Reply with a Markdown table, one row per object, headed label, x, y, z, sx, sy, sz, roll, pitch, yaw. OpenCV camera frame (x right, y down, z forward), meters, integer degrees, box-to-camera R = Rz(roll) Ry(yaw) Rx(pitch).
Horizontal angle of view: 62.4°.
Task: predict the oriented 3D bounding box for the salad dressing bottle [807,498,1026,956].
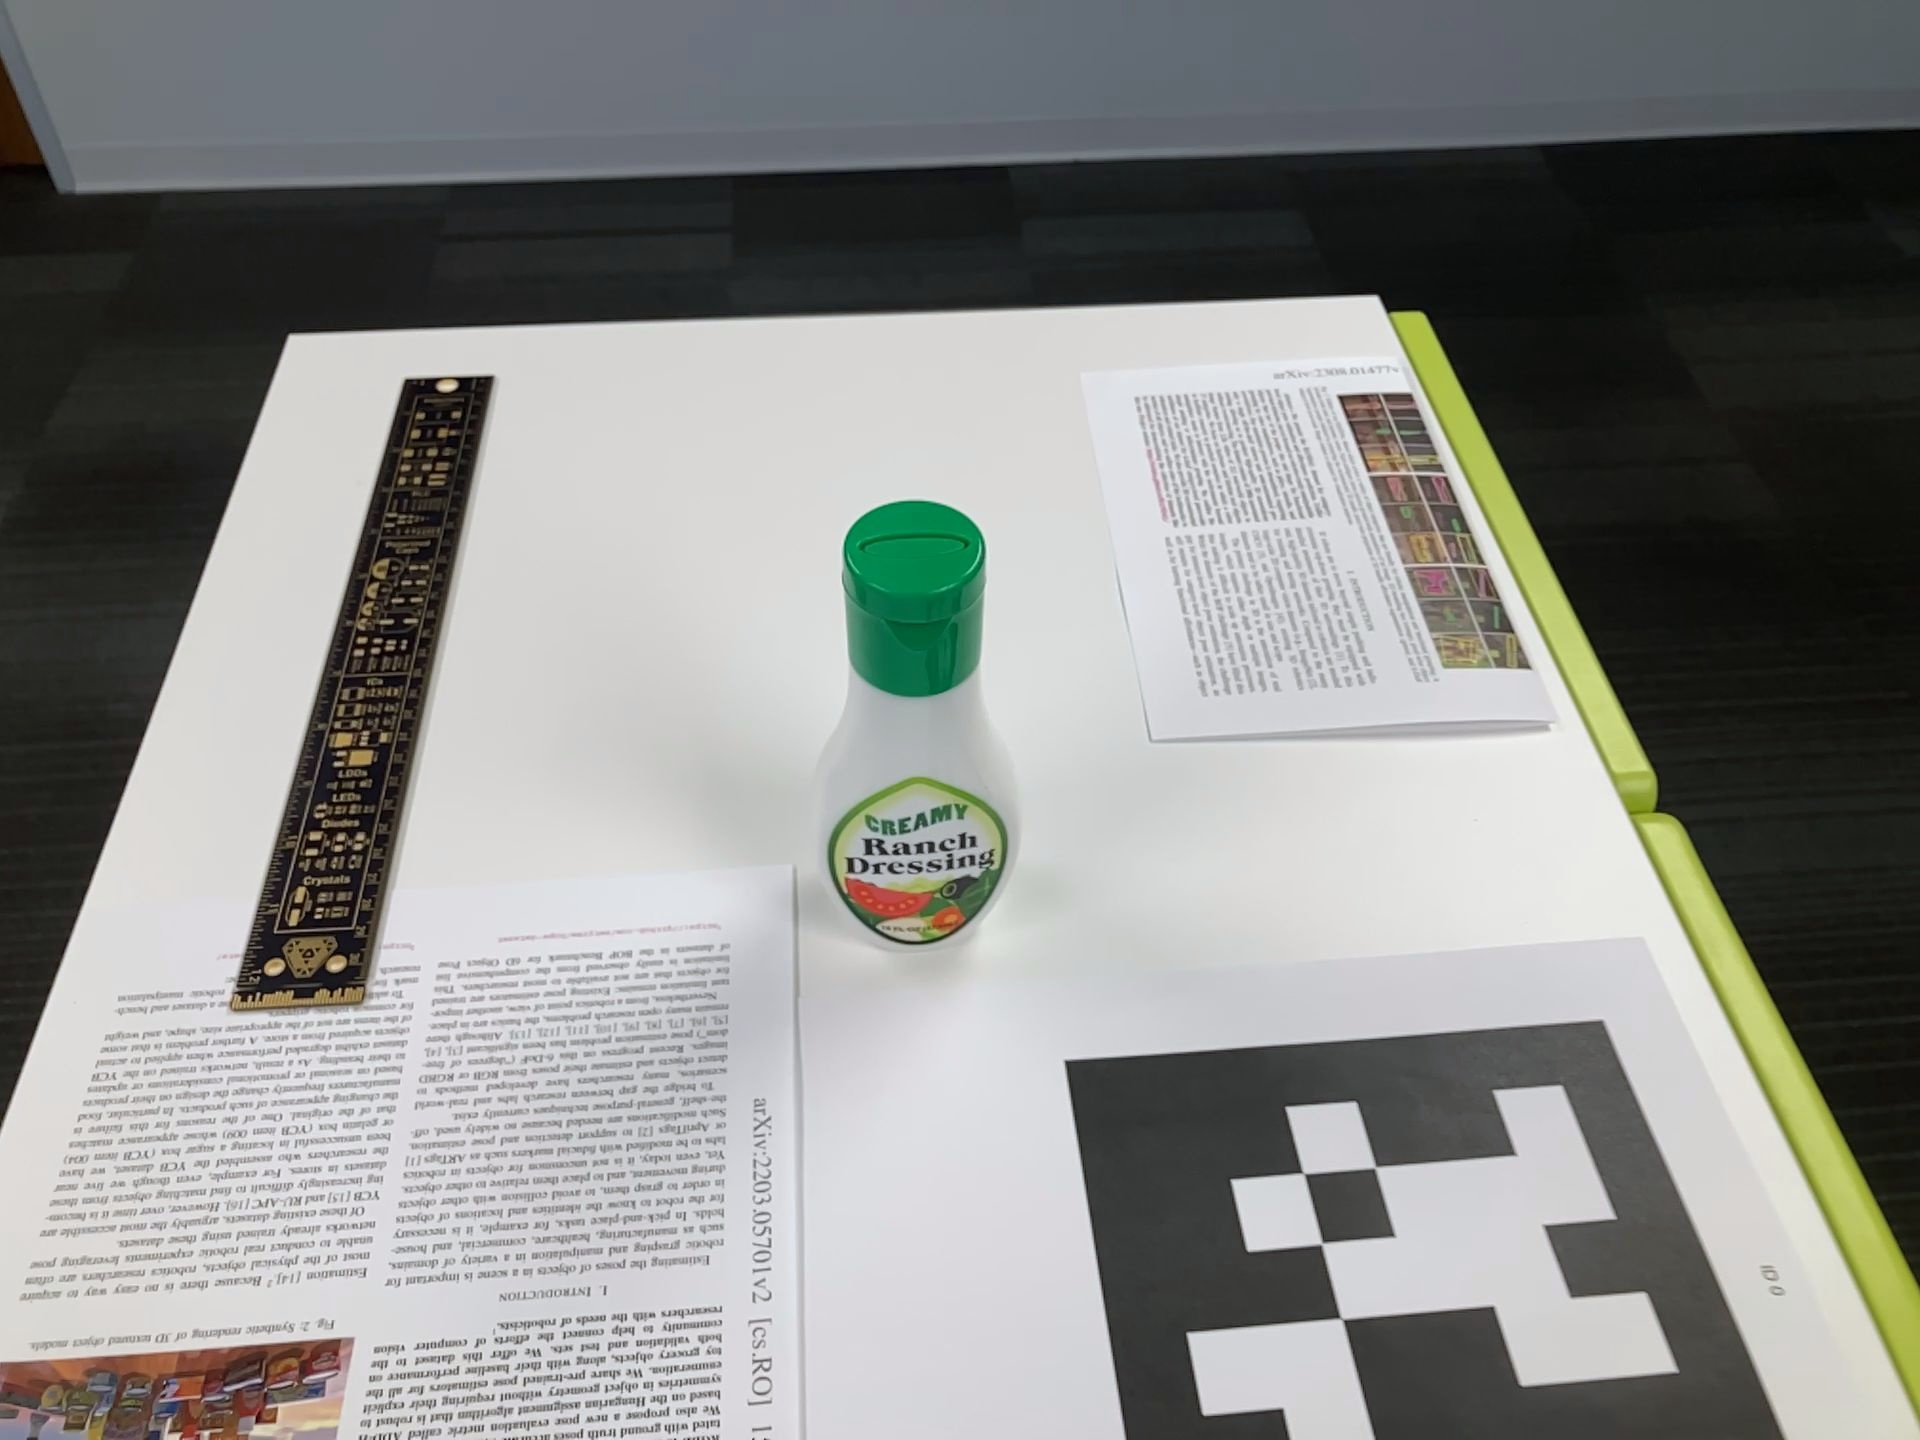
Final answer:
| label | x | y | z | sx | sy | sz | roll | pitch | yaw |
| --- | --- | --- | --- | --- | --- | --- | --- | --- | --- |
| salad dressing bottle | -0.013 | 0.006 | 0.444 | 0.064 | 0.147 | 0.044 | -3 | 47 | -3 |
